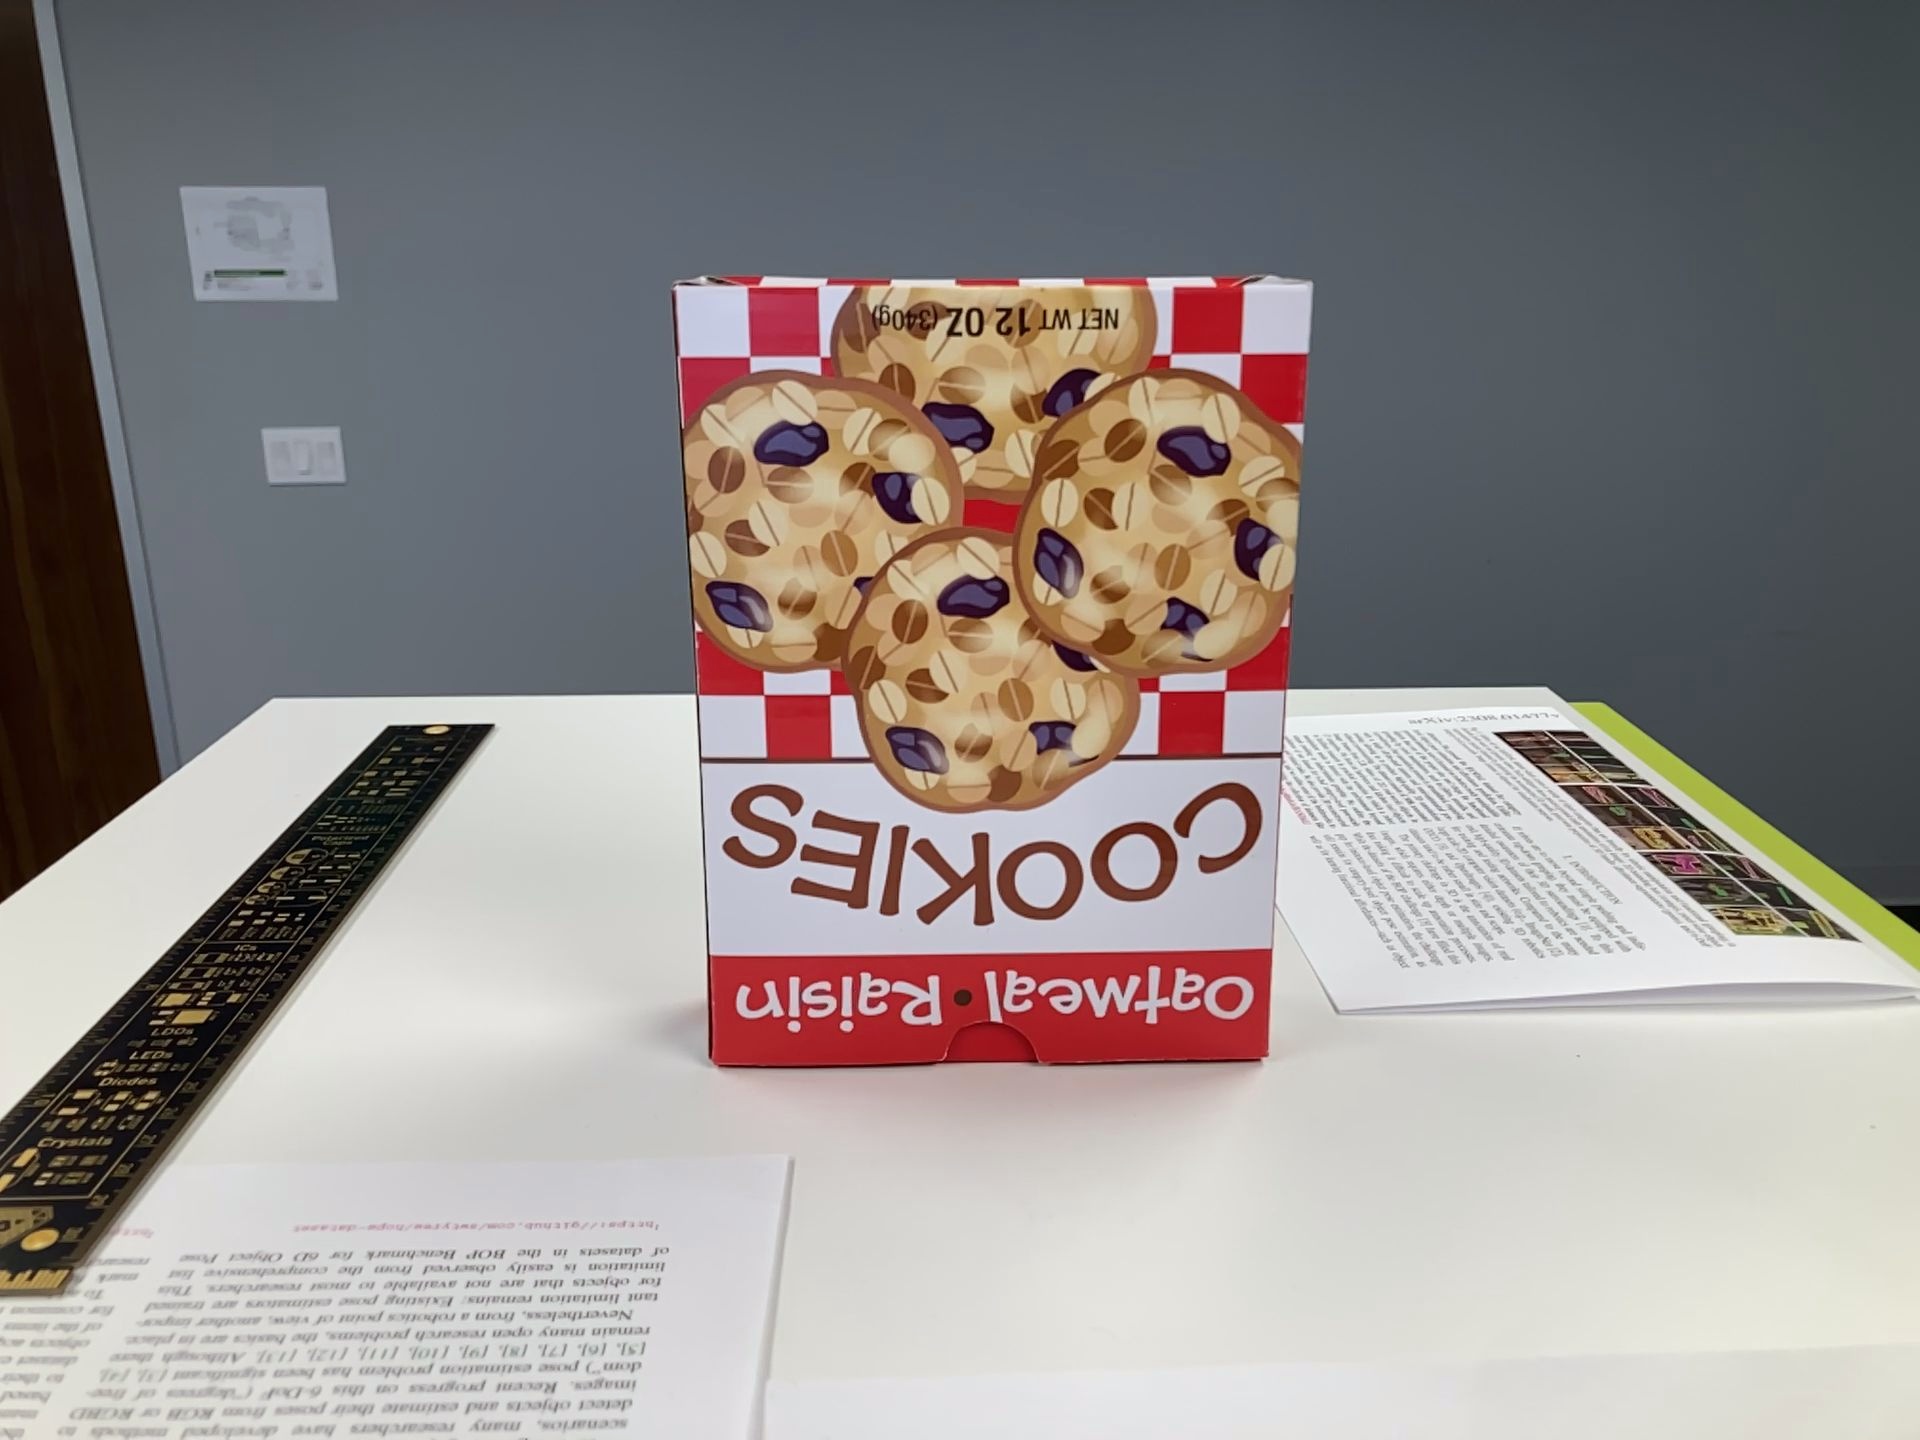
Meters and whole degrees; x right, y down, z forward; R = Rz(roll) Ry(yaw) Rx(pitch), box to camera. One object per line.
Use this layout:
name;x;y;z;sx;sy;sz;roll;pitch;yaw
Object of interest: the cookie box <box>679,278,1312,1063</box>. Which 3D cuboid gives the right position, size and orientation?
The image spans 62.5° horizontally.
cookie box;0.006;-0.008;0.343;0.123;0.167;0.040;0;17;-1
